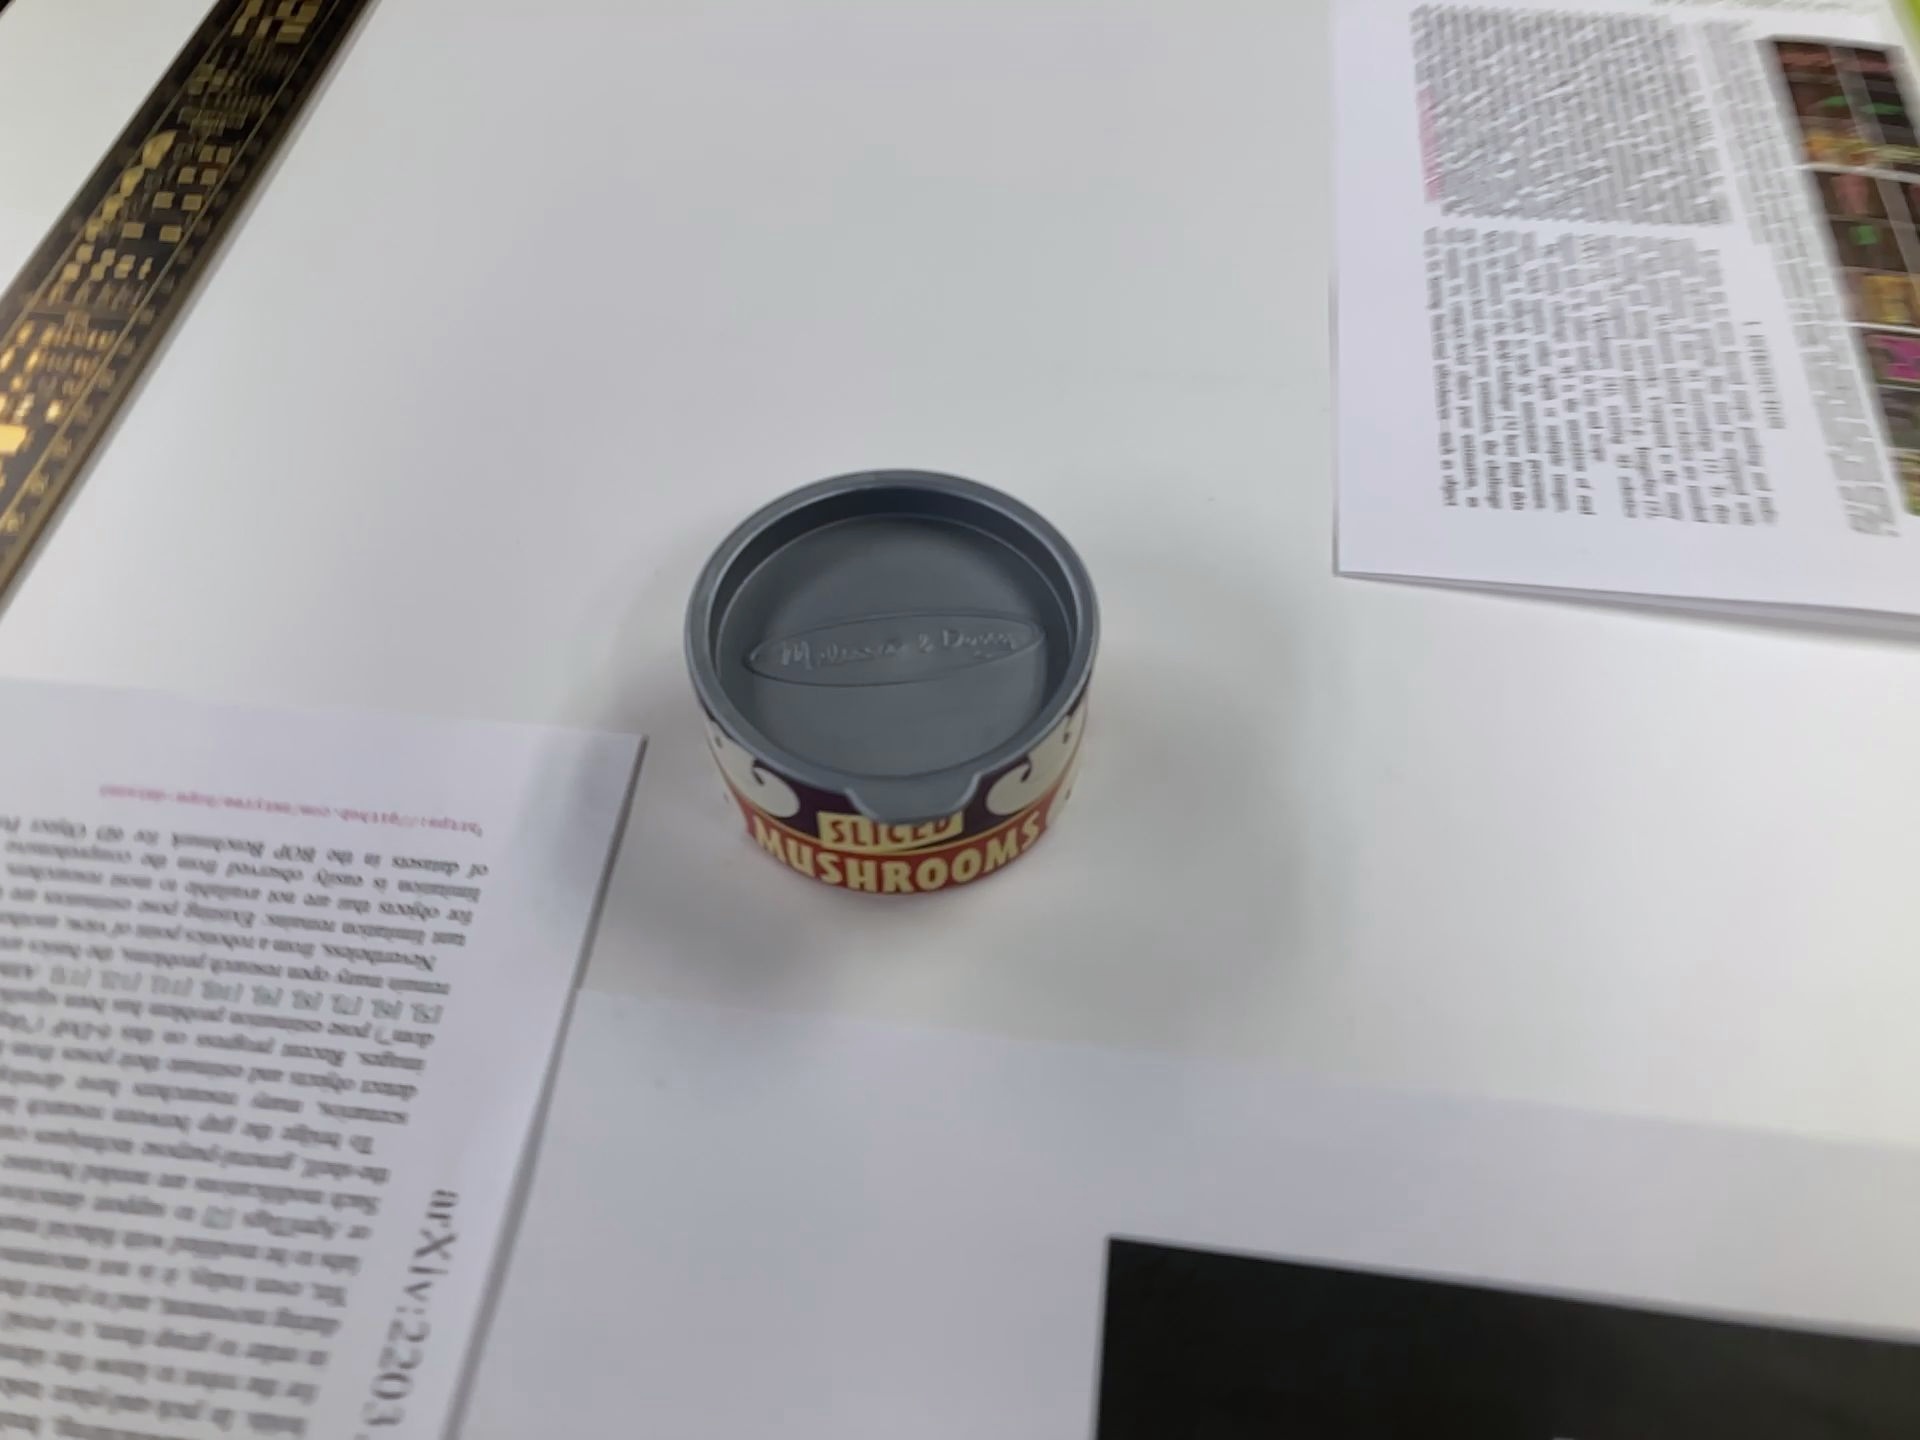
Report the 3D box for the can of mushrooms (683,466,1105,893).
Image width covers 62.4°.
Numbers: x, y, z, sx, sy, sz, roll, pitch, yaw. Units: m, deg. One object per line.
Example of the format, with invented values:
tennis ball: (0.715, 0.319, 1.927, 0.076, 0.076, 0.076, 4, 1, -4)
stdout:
can of mushrooms: (-0.011, -0.005, 0.261, 0.071, 0.033, 0.071, 1, 54, -1)
